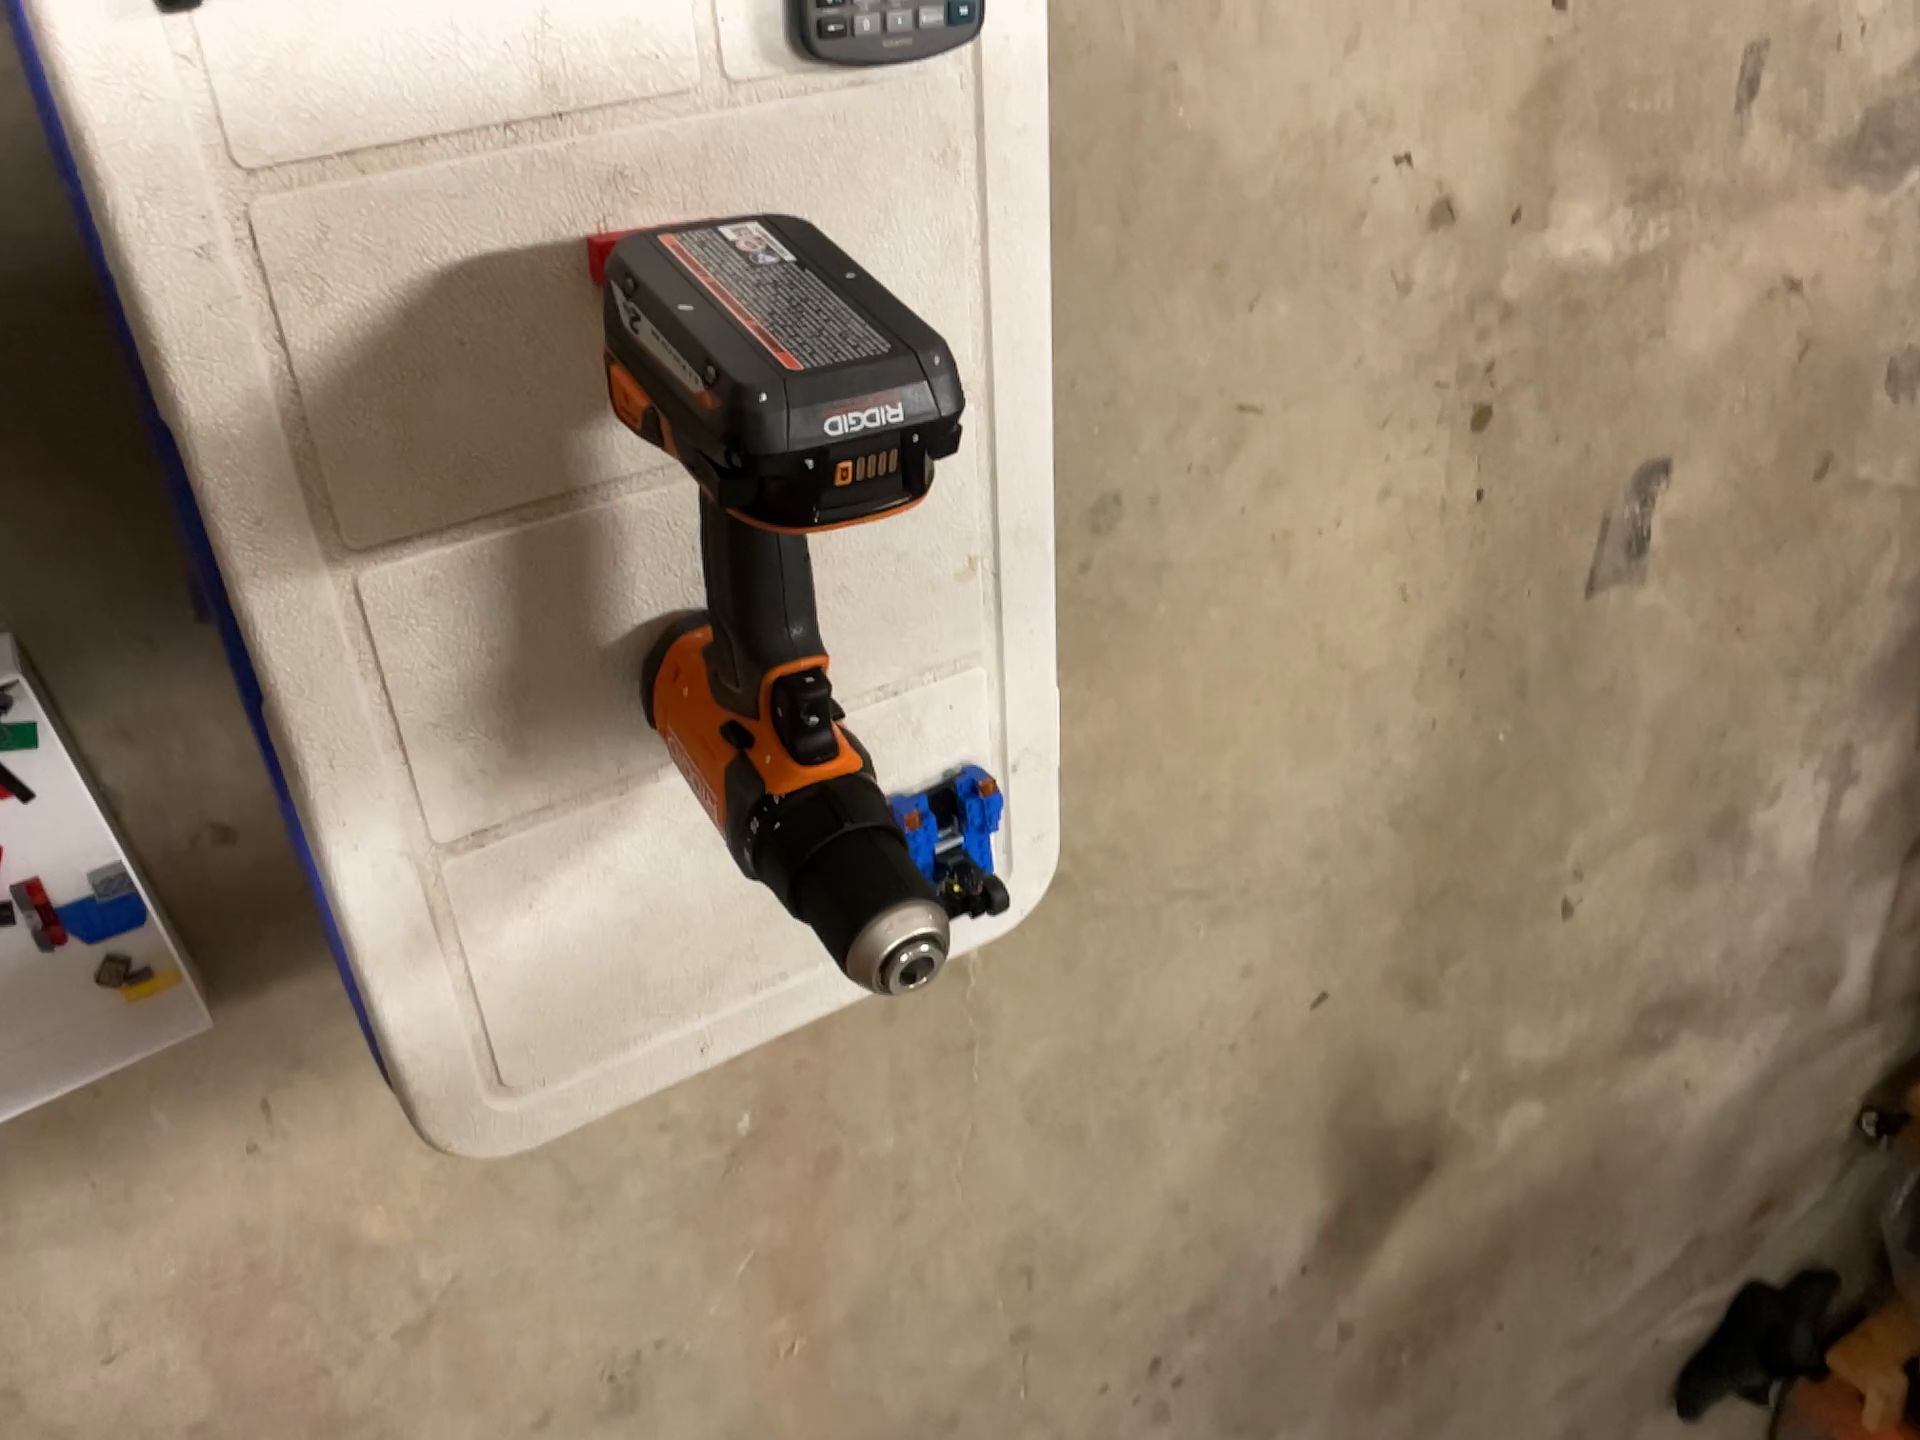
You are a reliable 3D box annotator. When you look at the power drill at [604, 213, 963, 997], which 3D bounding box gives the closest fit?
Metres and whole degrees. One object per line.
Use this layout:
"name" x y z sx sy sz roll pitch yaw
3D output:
"power drill" -0.054 -0.031 0.541 0.084 0.185 0.225 -17 135 -25
